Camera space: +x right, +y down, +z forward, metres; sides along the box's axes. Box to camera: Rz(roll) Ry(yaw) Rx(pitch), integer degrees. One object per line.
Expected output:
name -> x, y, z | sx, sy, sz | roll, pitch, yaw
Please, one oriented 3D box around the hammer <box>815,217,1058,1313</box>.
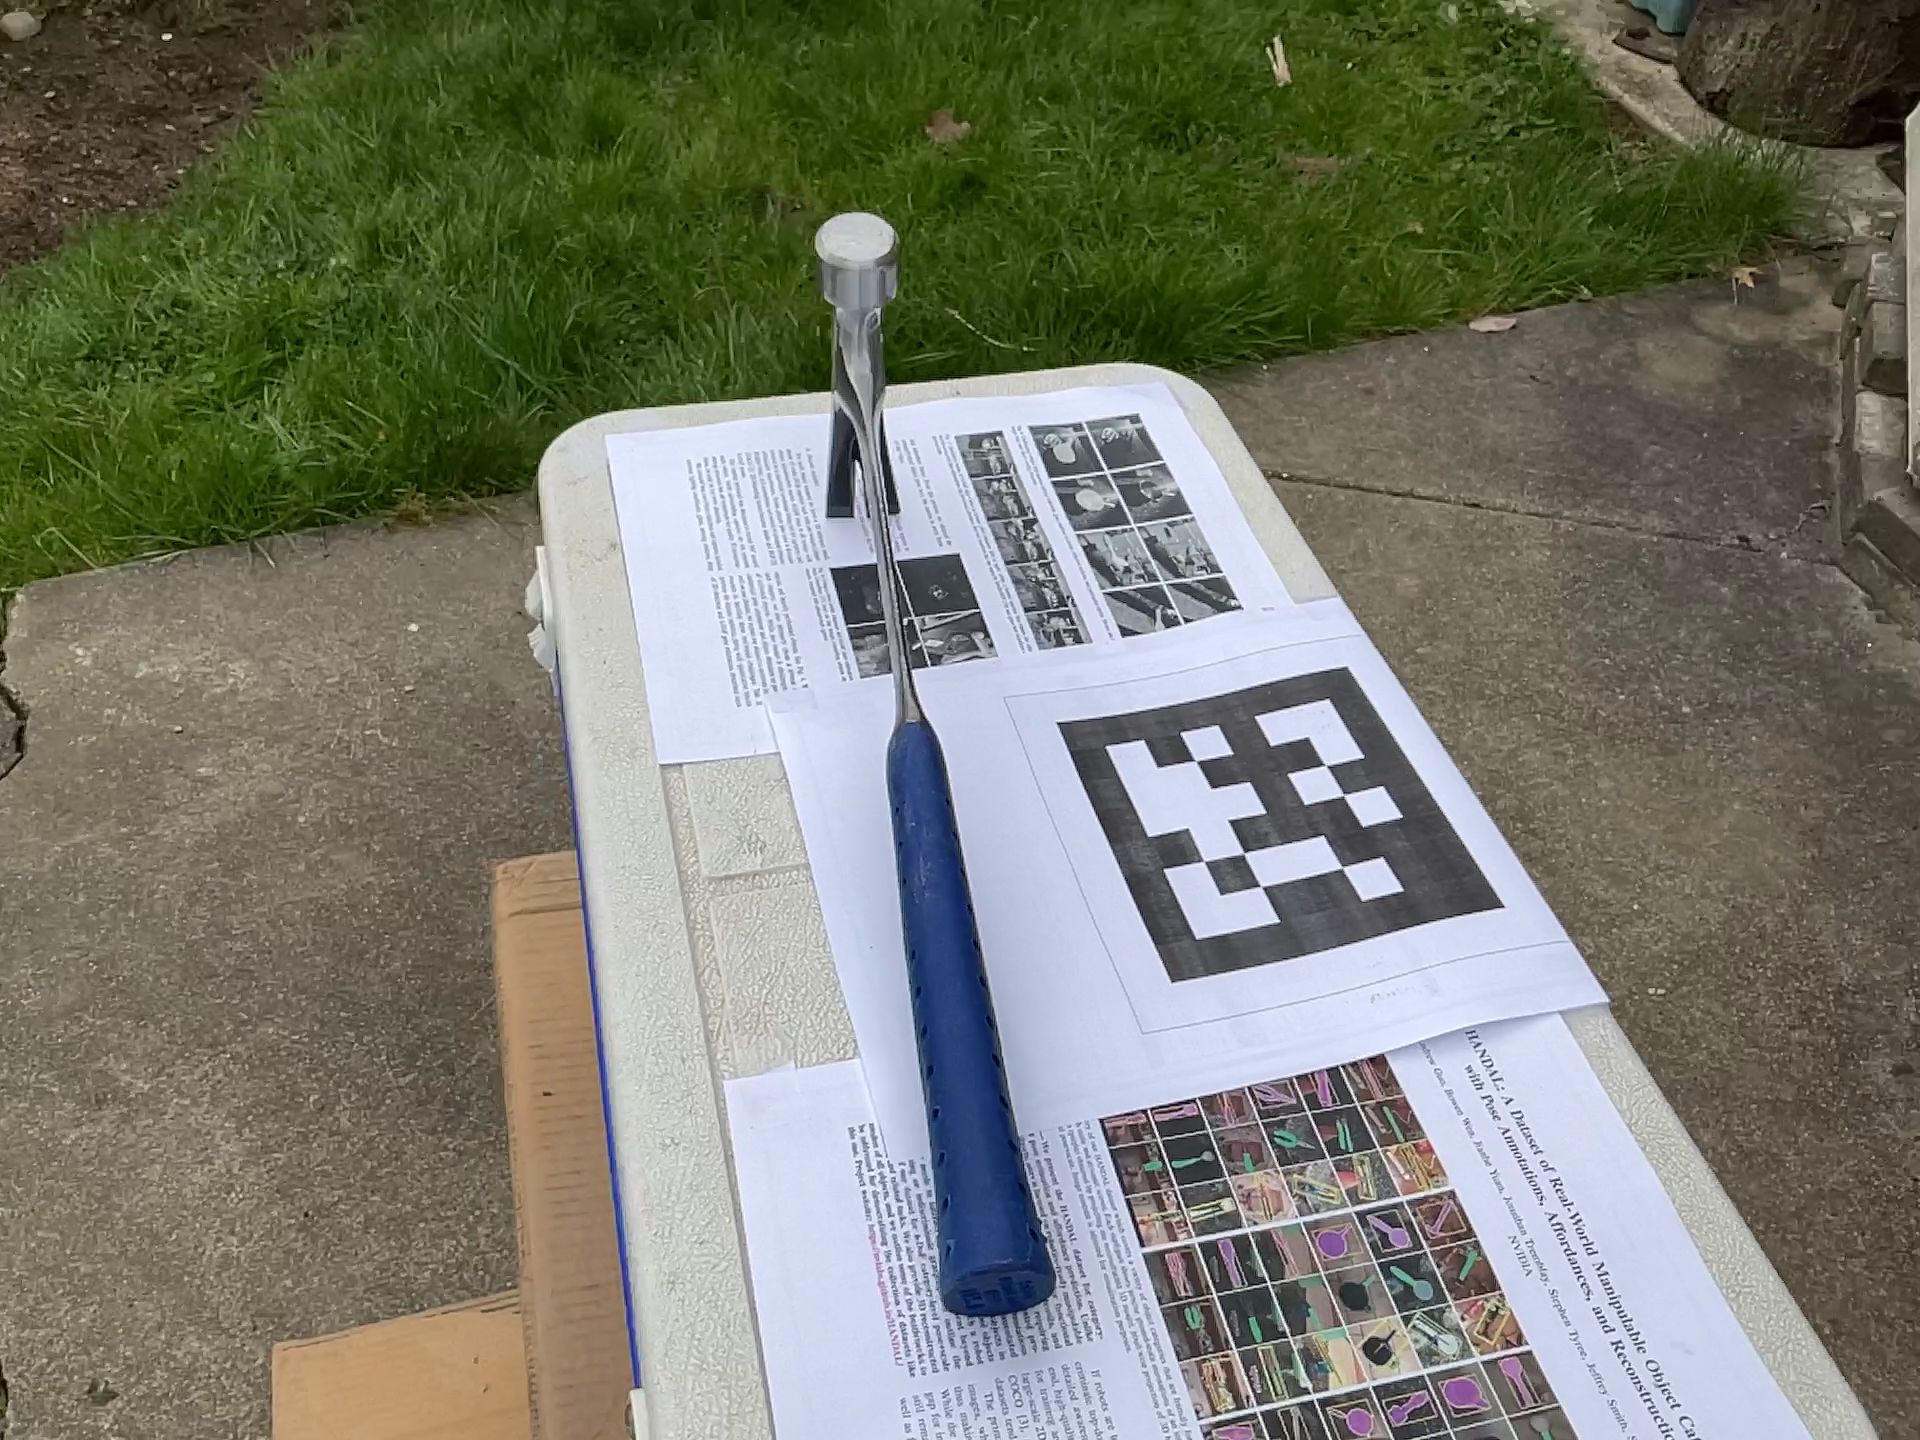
hammer -> -0.017, 0.003, 0.574 | 0.035, 0.144, 0.406 | -5, 54, -7
